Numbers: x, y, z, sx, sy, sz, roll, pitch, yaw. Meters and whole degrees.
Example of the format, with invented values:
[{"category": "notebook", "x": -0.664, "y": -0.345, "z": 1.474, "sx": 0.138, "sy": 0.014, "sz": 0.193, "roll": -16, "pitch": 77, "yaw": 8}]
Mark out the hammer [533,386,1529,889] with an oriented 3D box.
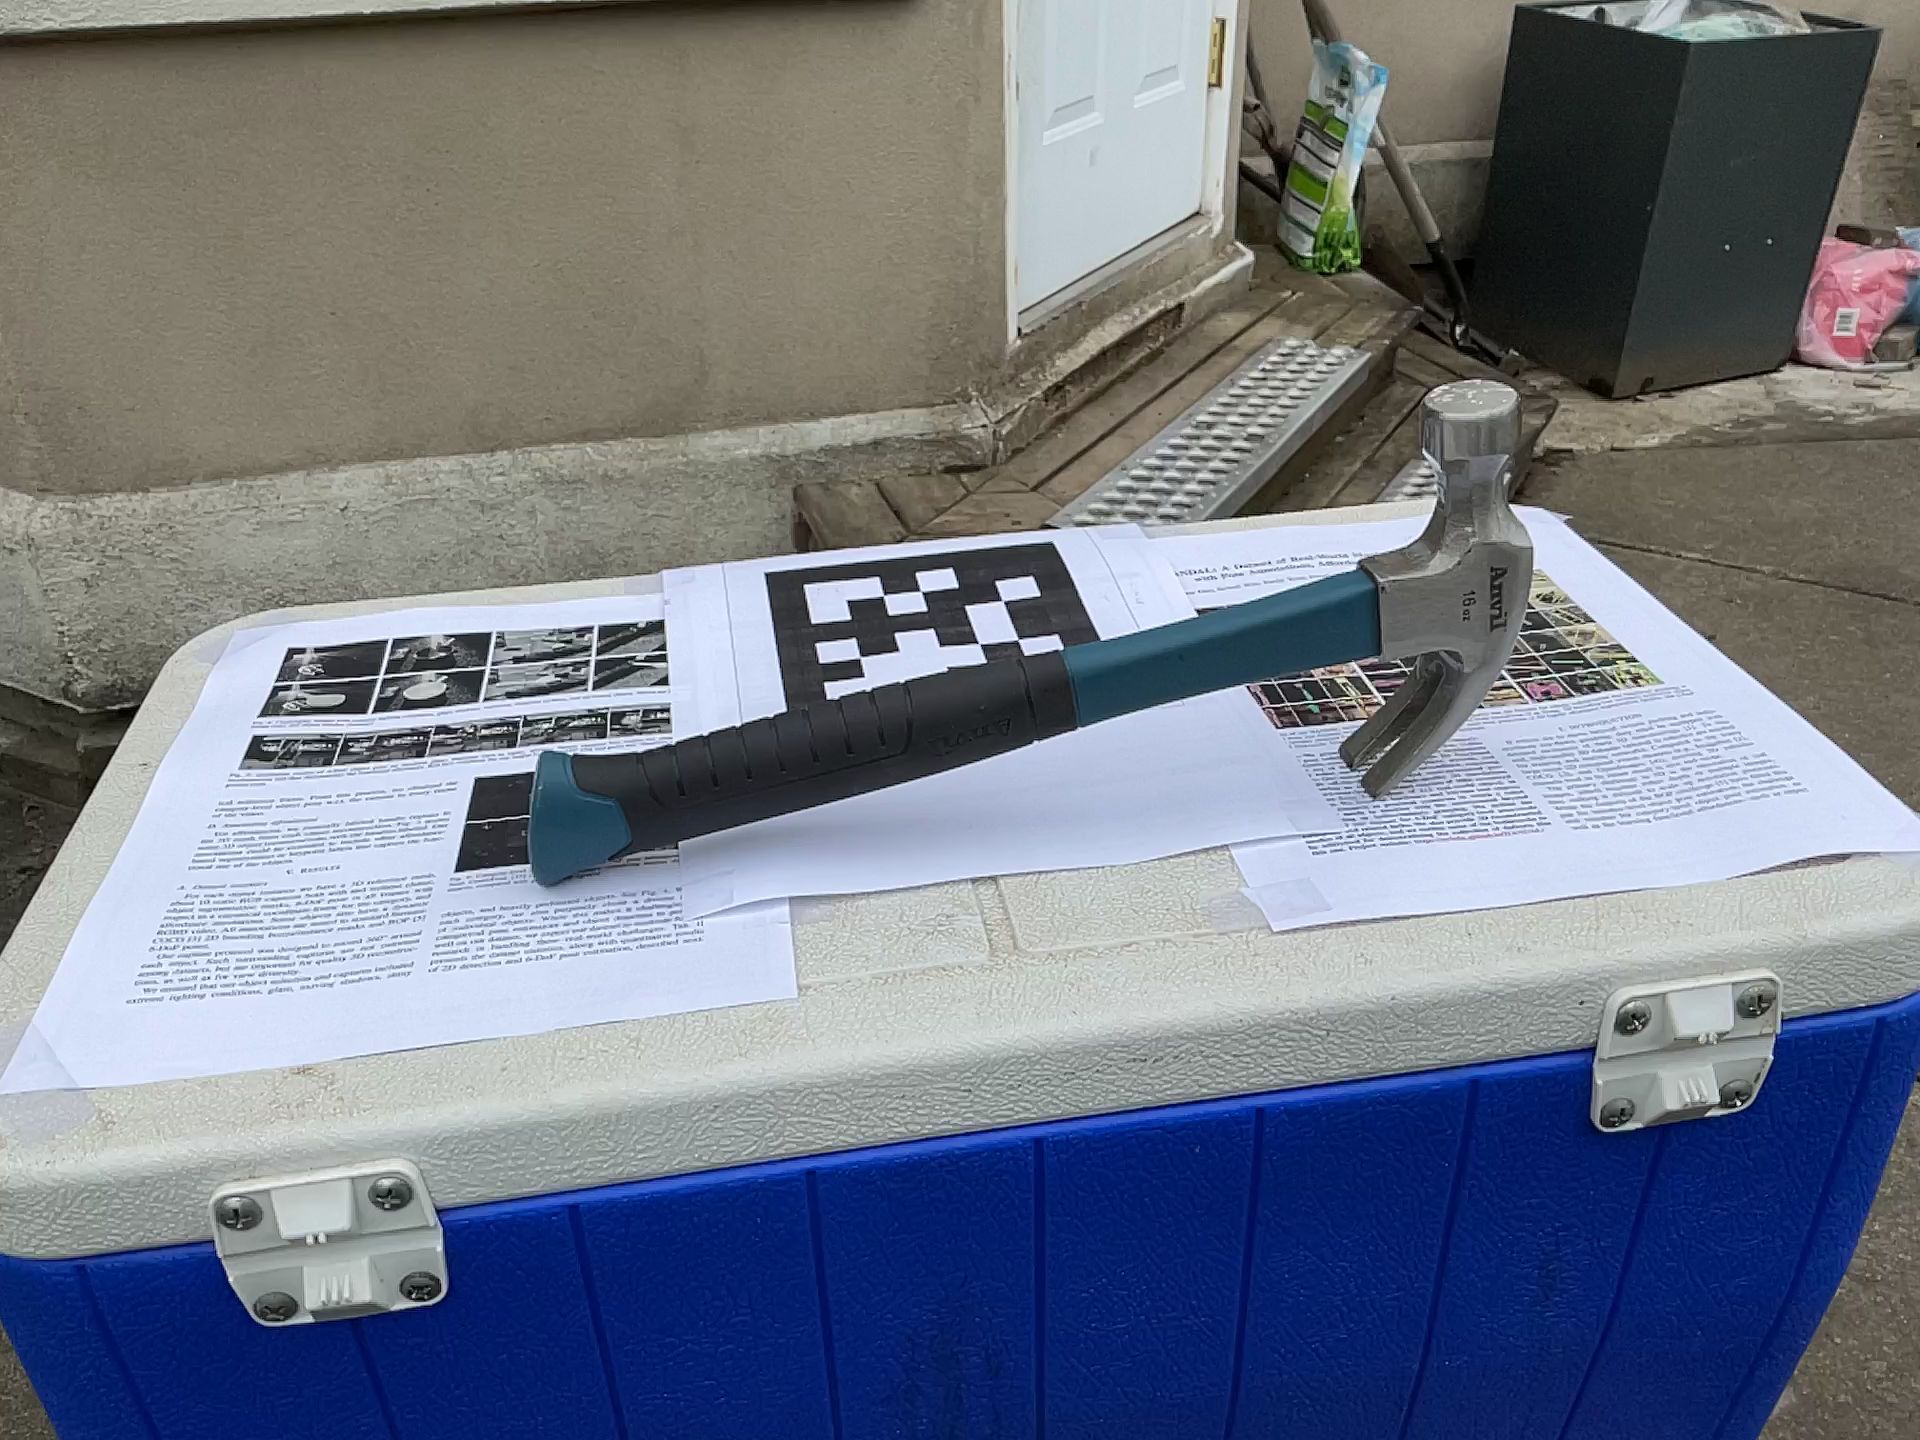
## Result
[{"category": "hammer", "x": 0.022, "y": -0.007, "z": 0.515, "sx": 0.331, "sy": 0.128, "sz": 0.033, "roll": -15, "pitch": 30, "yaw": -3}]
